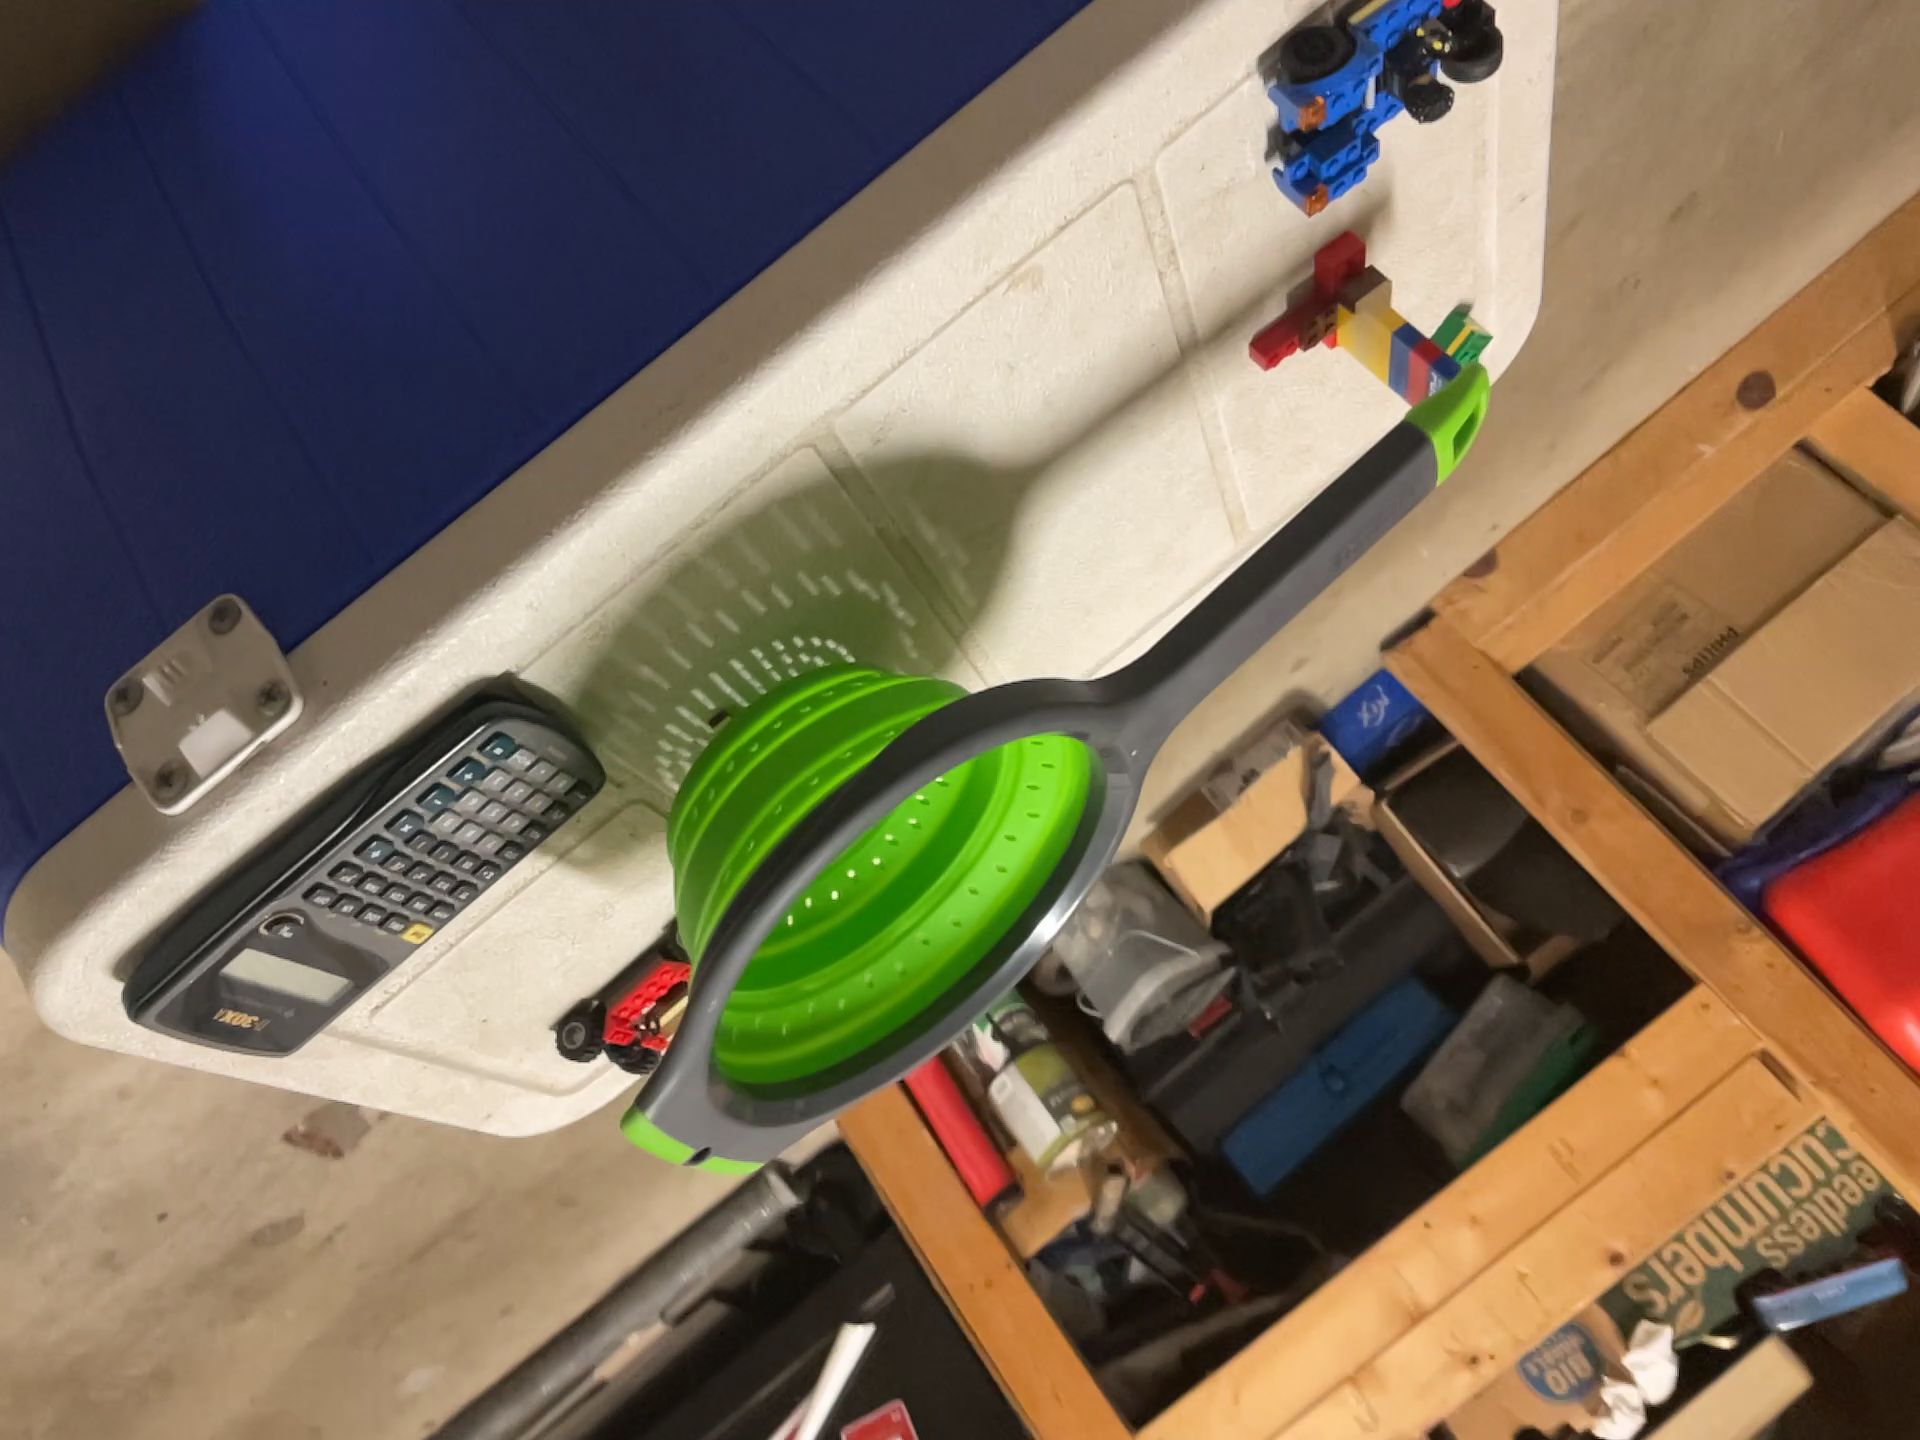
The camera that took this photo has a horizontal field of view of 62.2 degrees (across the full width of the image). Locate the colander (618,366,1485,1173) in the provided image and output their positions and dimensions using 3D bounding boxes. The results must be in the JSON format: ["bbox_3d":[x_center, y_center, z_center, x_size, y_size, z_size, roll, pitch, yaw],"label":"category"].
[{"bbox_3d":[0.023,-0.008,0.585,0.397,0.095,0.204,-43,151,-4],"label":"colander"}]
